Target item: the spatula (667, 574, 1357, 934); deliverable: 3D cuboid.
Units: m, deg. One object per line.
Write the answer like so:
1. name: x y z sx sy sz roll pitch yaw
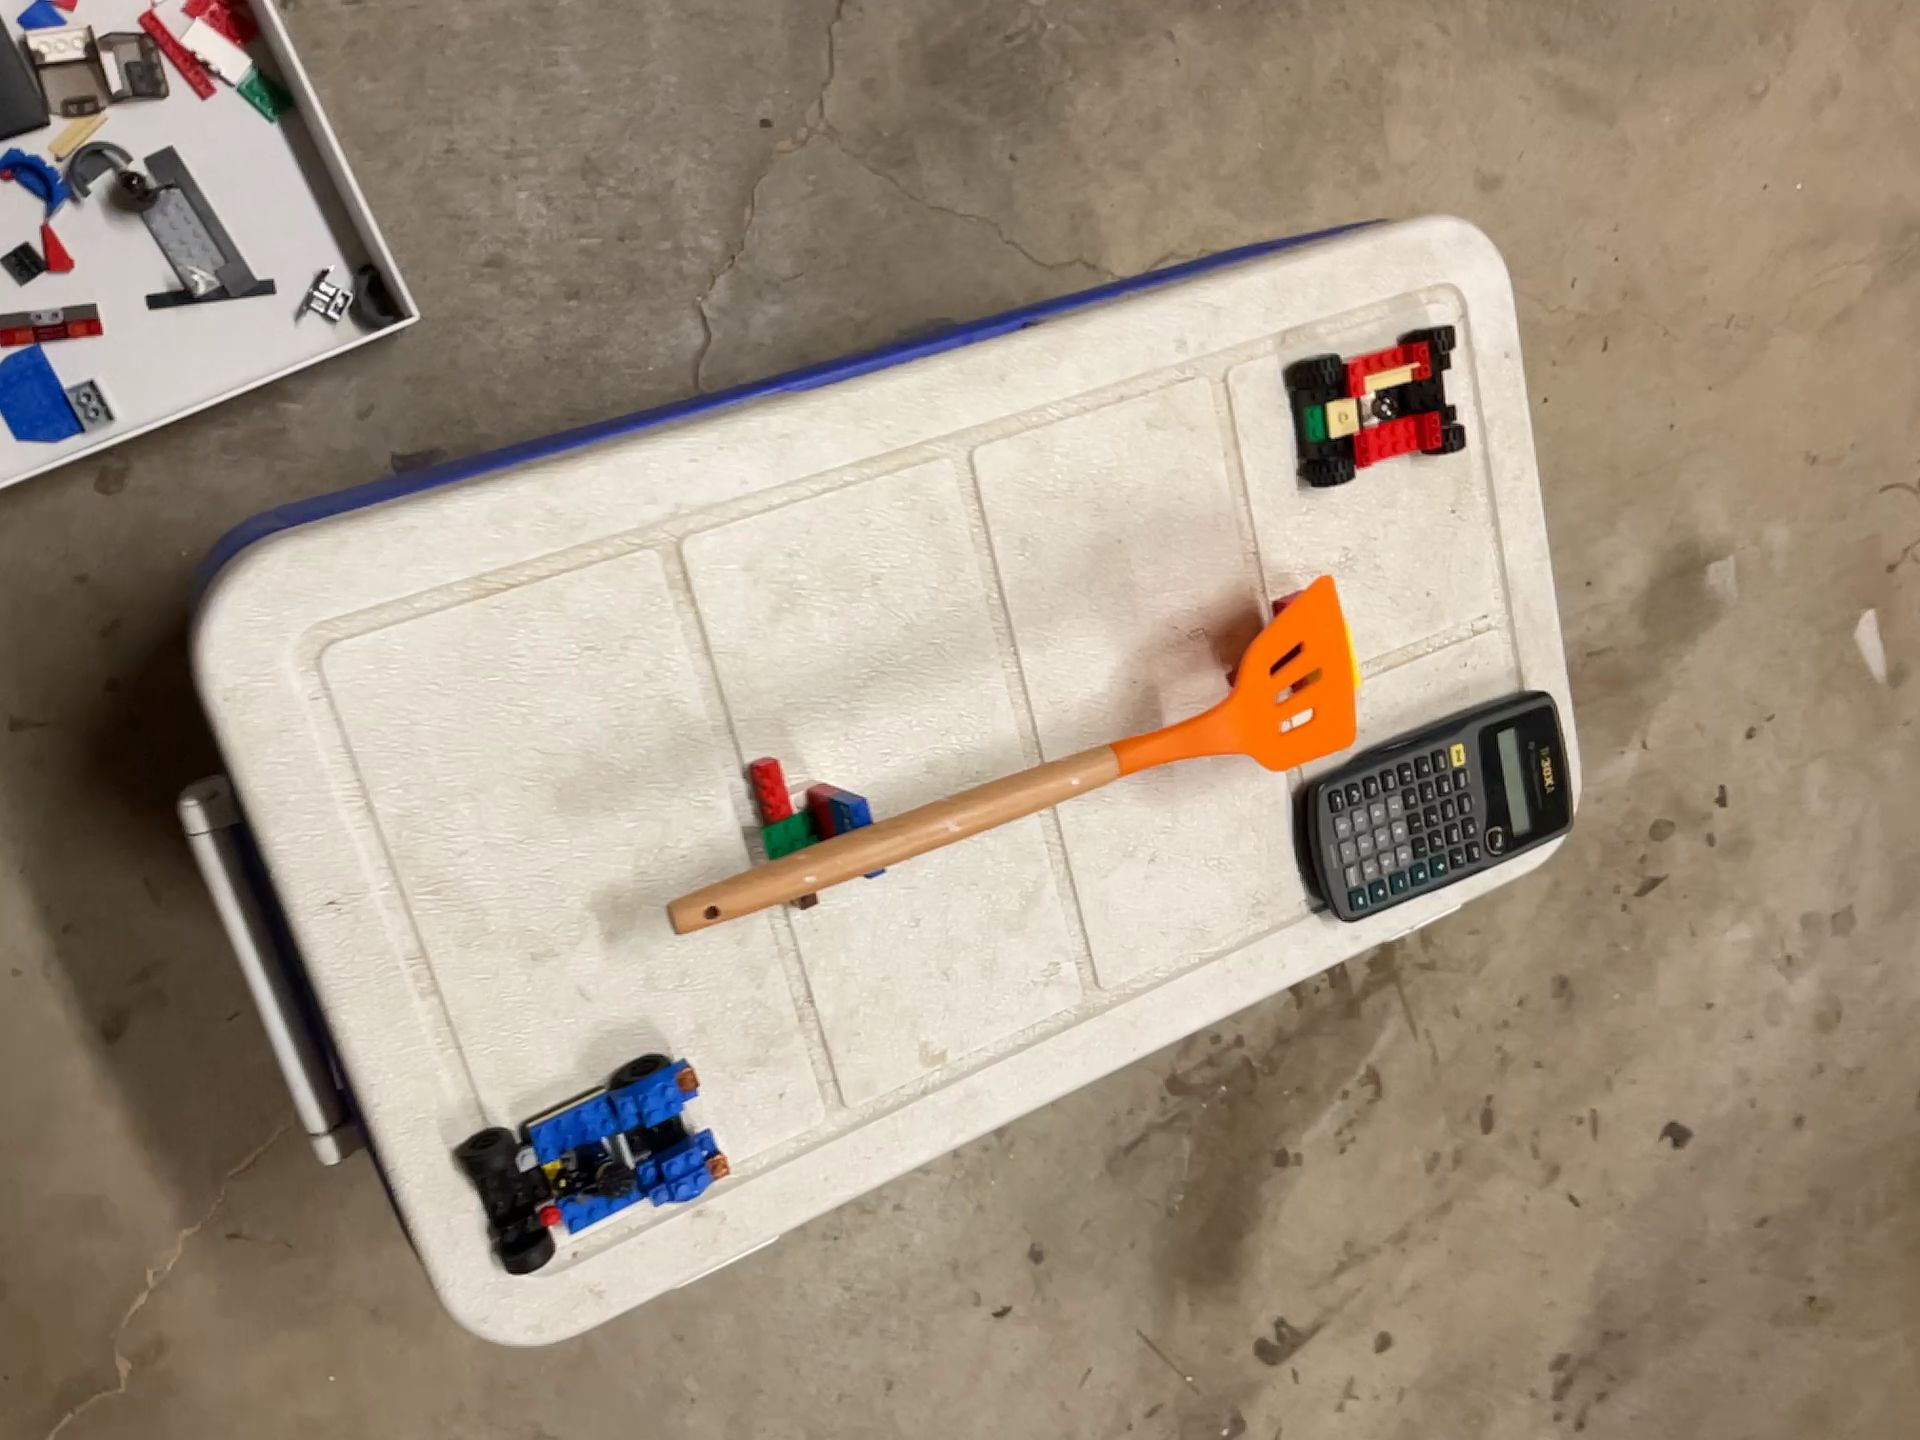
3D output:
1. spatula: 0.036 0.023 0.644 0.322 0.041 0.081 -18 107 -18
